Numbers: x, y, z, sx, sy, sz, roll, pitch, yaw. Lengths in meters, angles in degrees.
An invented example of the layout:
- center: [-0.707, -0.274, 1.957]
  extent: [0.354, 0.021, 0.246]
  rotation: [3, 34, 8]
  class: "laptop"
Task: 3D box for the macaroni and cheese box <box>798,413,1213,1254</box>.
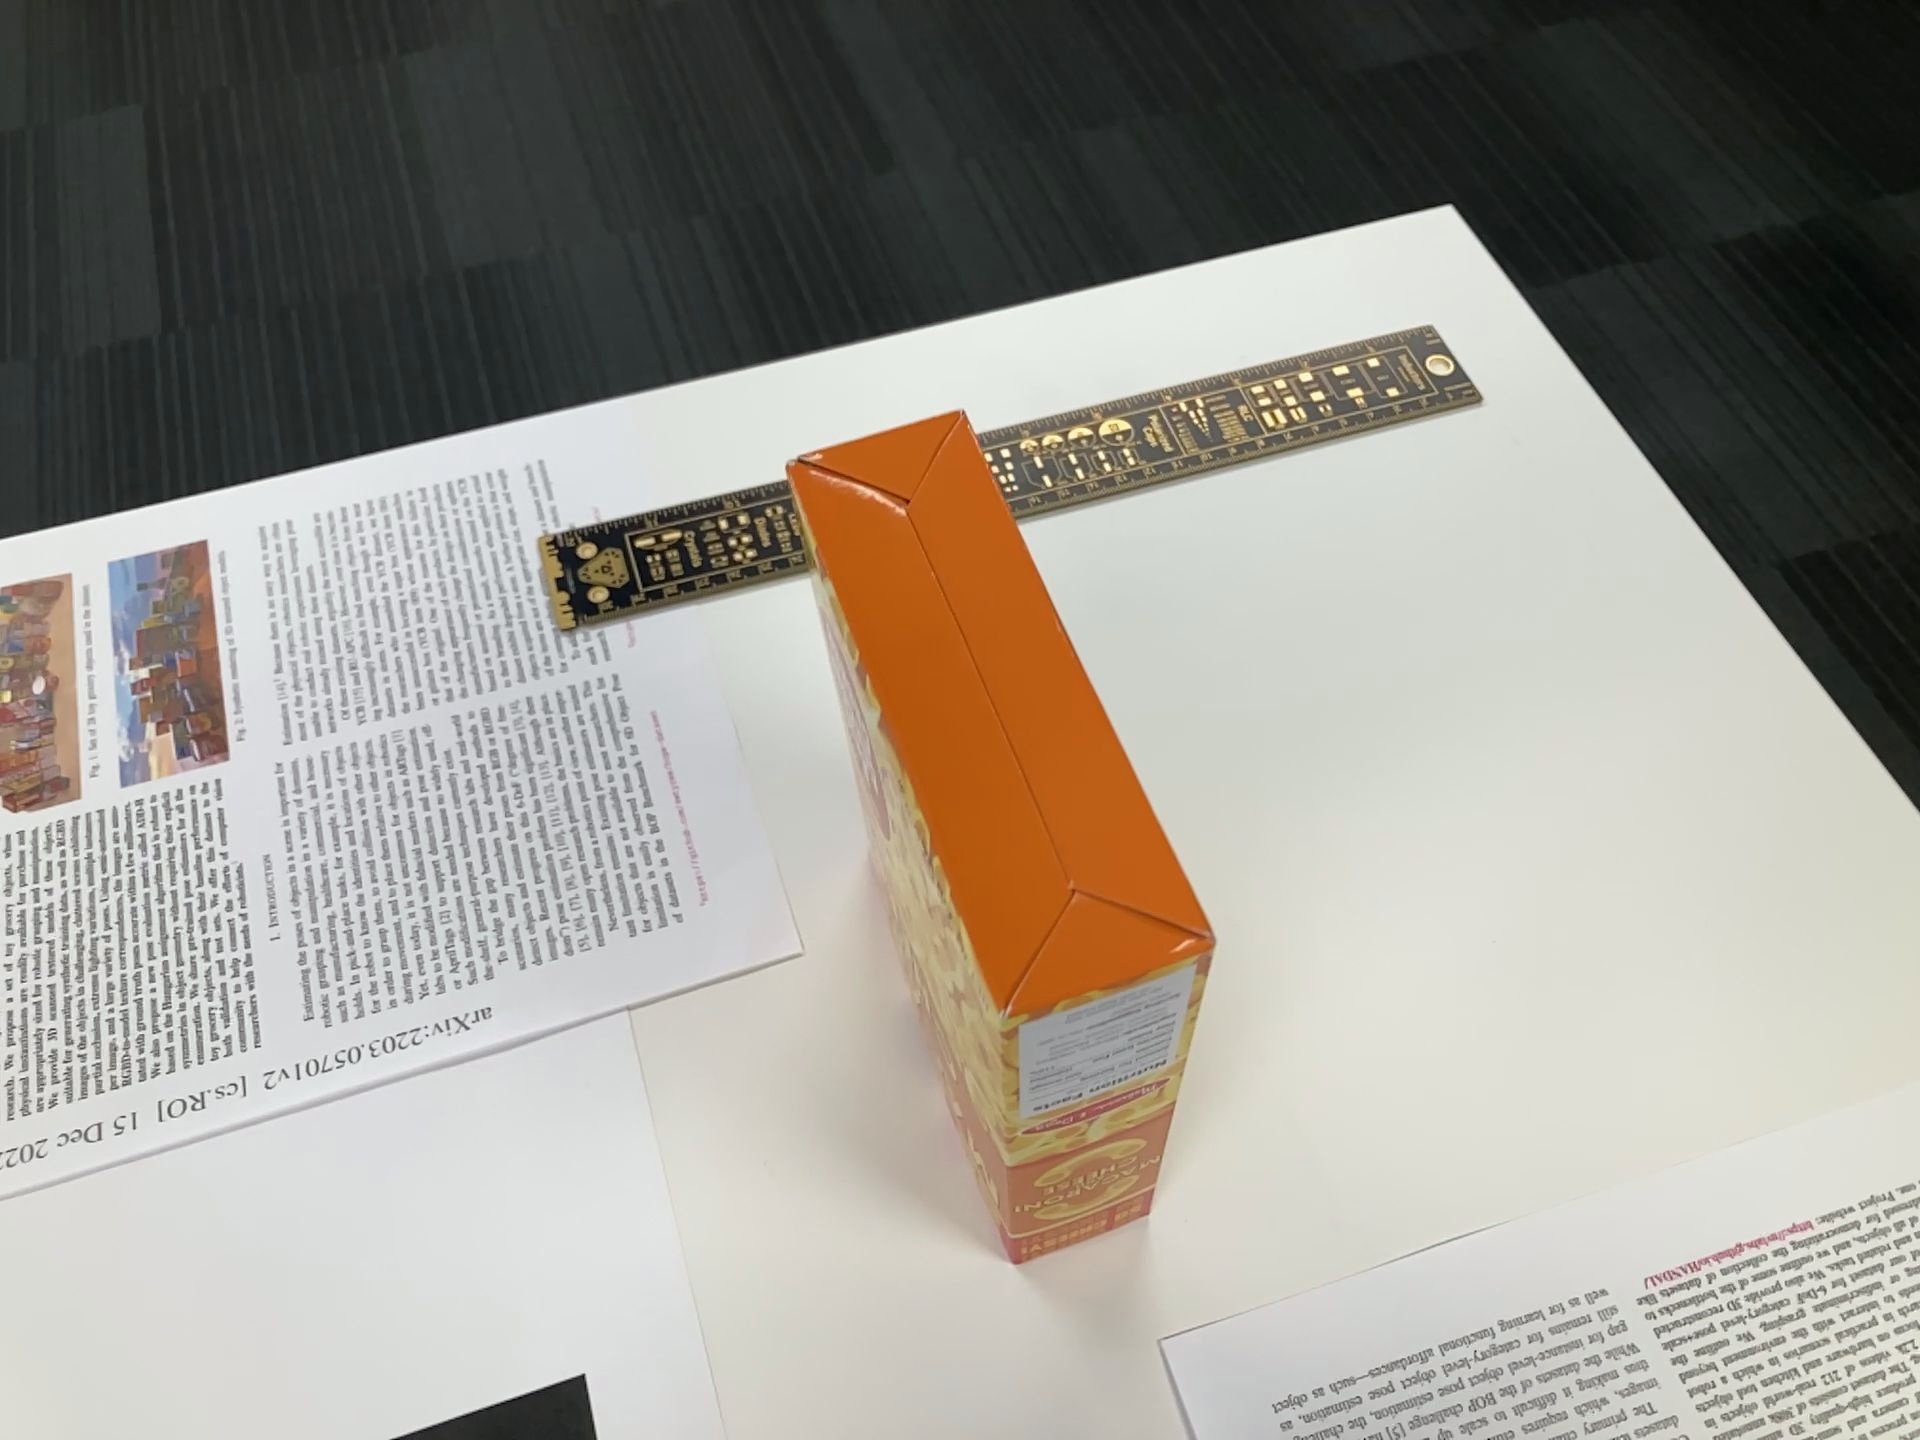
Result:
- center: [0.007, 0.035, 0.353]
  extent: [0.040, 0.166, 0.124]
  rotation: [-17, 60, -8]
  class: "macaroni and cheese box"
